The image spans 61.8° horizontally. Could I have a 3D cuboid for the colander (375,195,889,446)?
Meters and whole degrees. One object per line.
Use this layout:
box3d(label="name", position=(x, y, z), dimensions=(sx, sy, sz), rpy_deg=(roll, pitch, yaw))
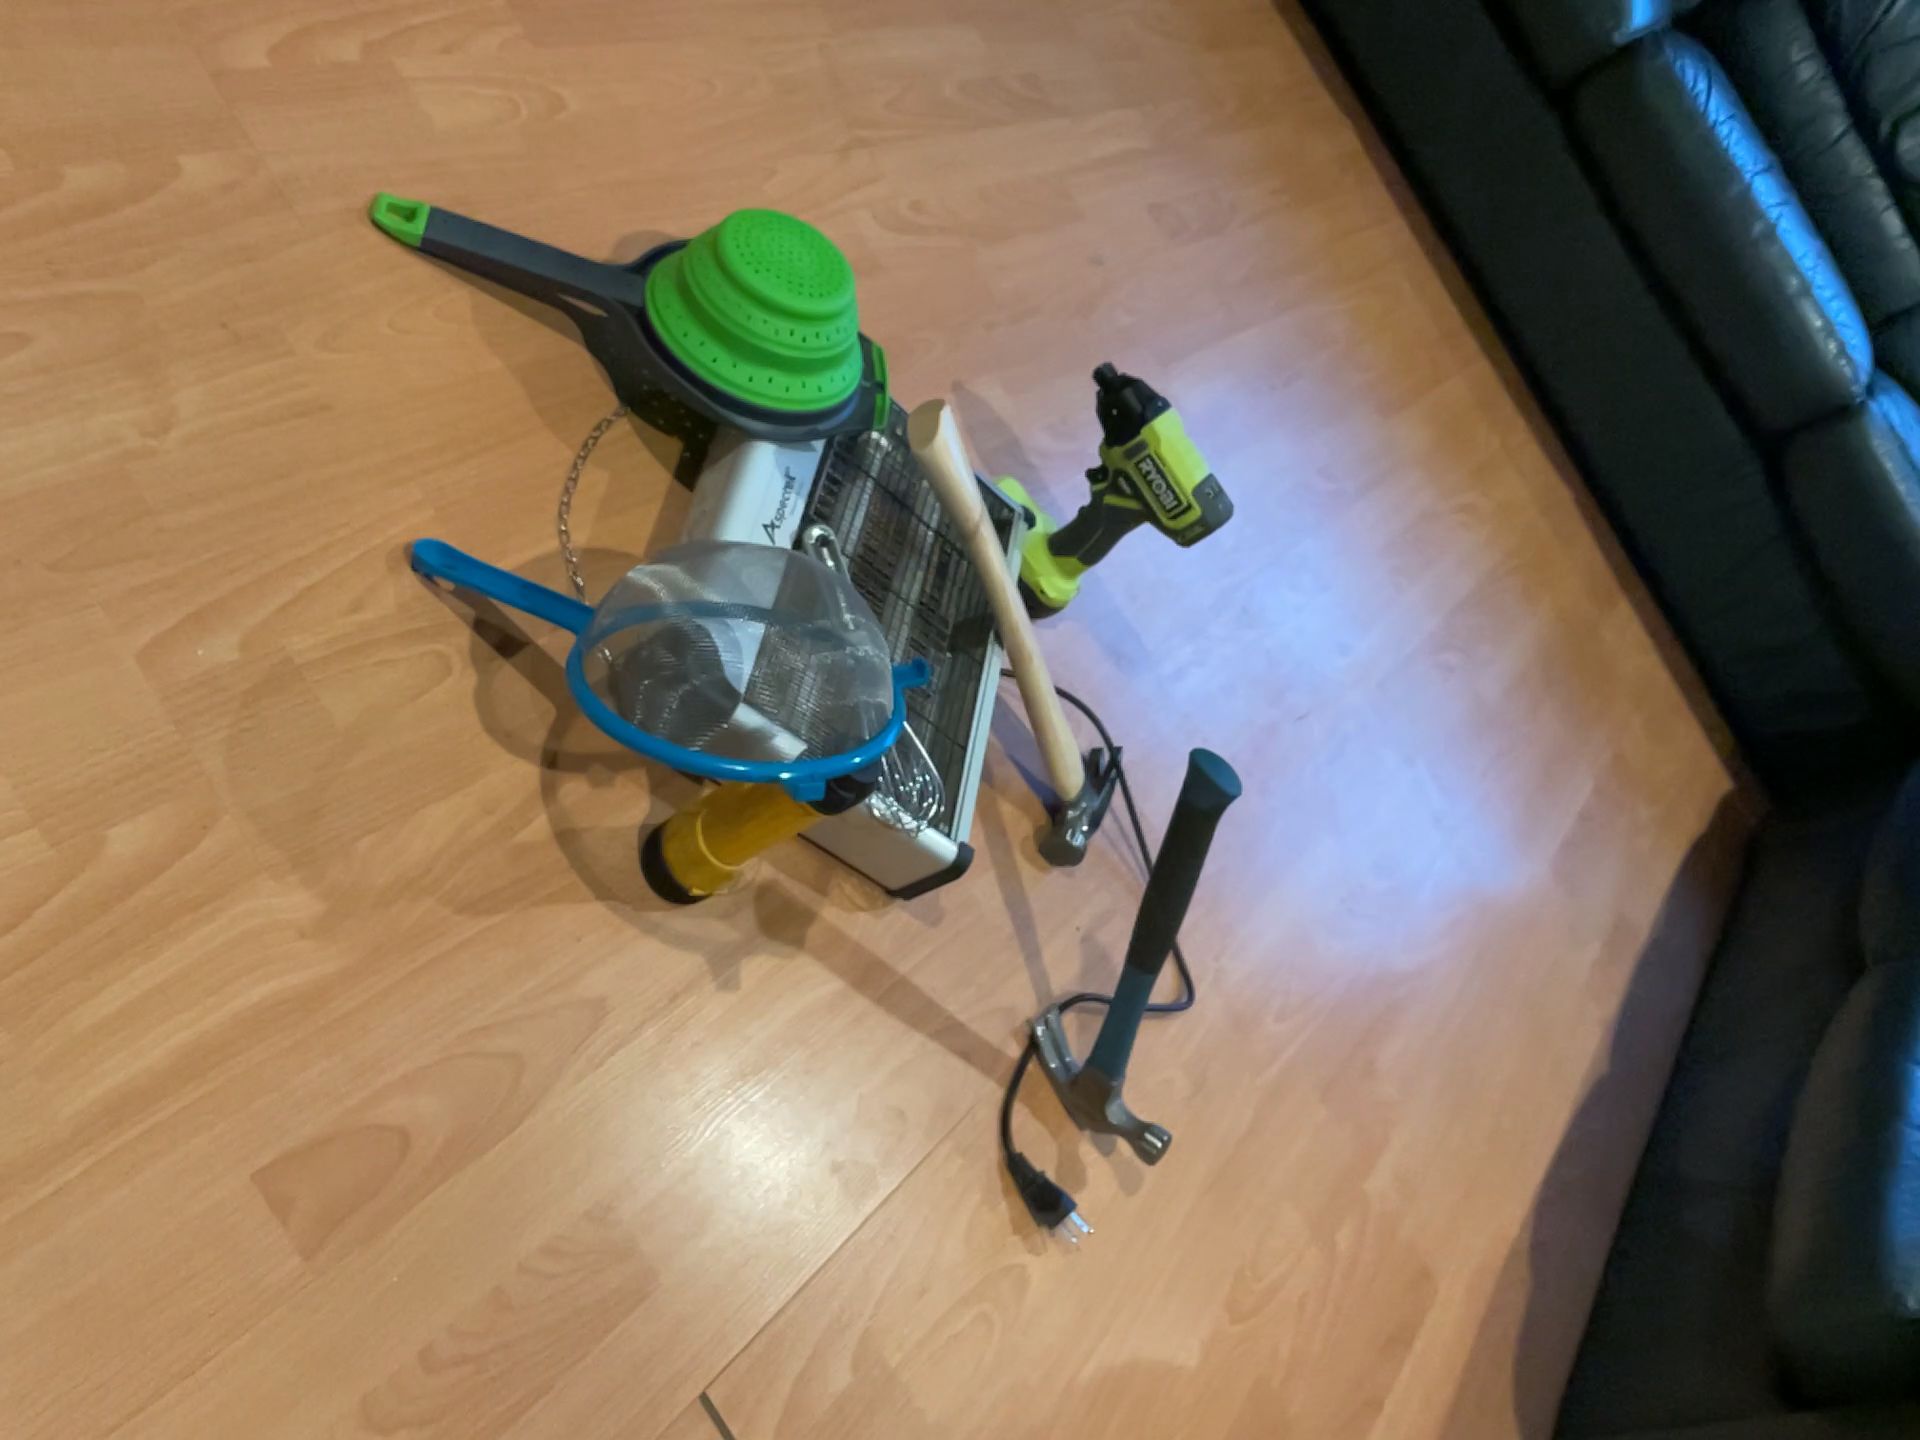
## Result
box3d(label="colander", position=(-0.219, -0.332, 1.183), dimensions=(0.397, 0.094, 0.205), rpy_deg=(15, 49, -21))

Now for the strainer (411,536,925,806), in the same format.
box3d(label="strainer", position=(-0.189, -0.077, 0.996), dimensions=(0.340, 0.095, 0.211), rpy_deg=(23, 30, 10))

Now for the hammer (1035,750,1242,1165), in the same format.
box3d(label="hammer", position=(0.142, 0.172, 1.189), dimensions=(0.128, 0.330, 0.033), rpy_deg=(30, 31, 27))

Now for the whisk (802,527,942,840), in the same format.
box3d(label="whisk", position=(-0.068, -0.030, 1.145), dimensions=(0.058, 0.059, 0.246), rpy_deg=(-13, 72, -19))

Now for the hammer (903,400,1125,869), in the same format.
box3d(label="hammer", position=(0.047, -0.076, 1.306), dimensions=(0.146, 0.038, 0.410), rpy_deg=(-61, 137, -45))

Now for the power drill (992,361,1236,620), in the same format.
box3d(label="power drill", position=(0.111, -0.198, 1.419), dimensions=(0.171, 0.223, 0.080), rpy_deg=(56, 40, -6))
